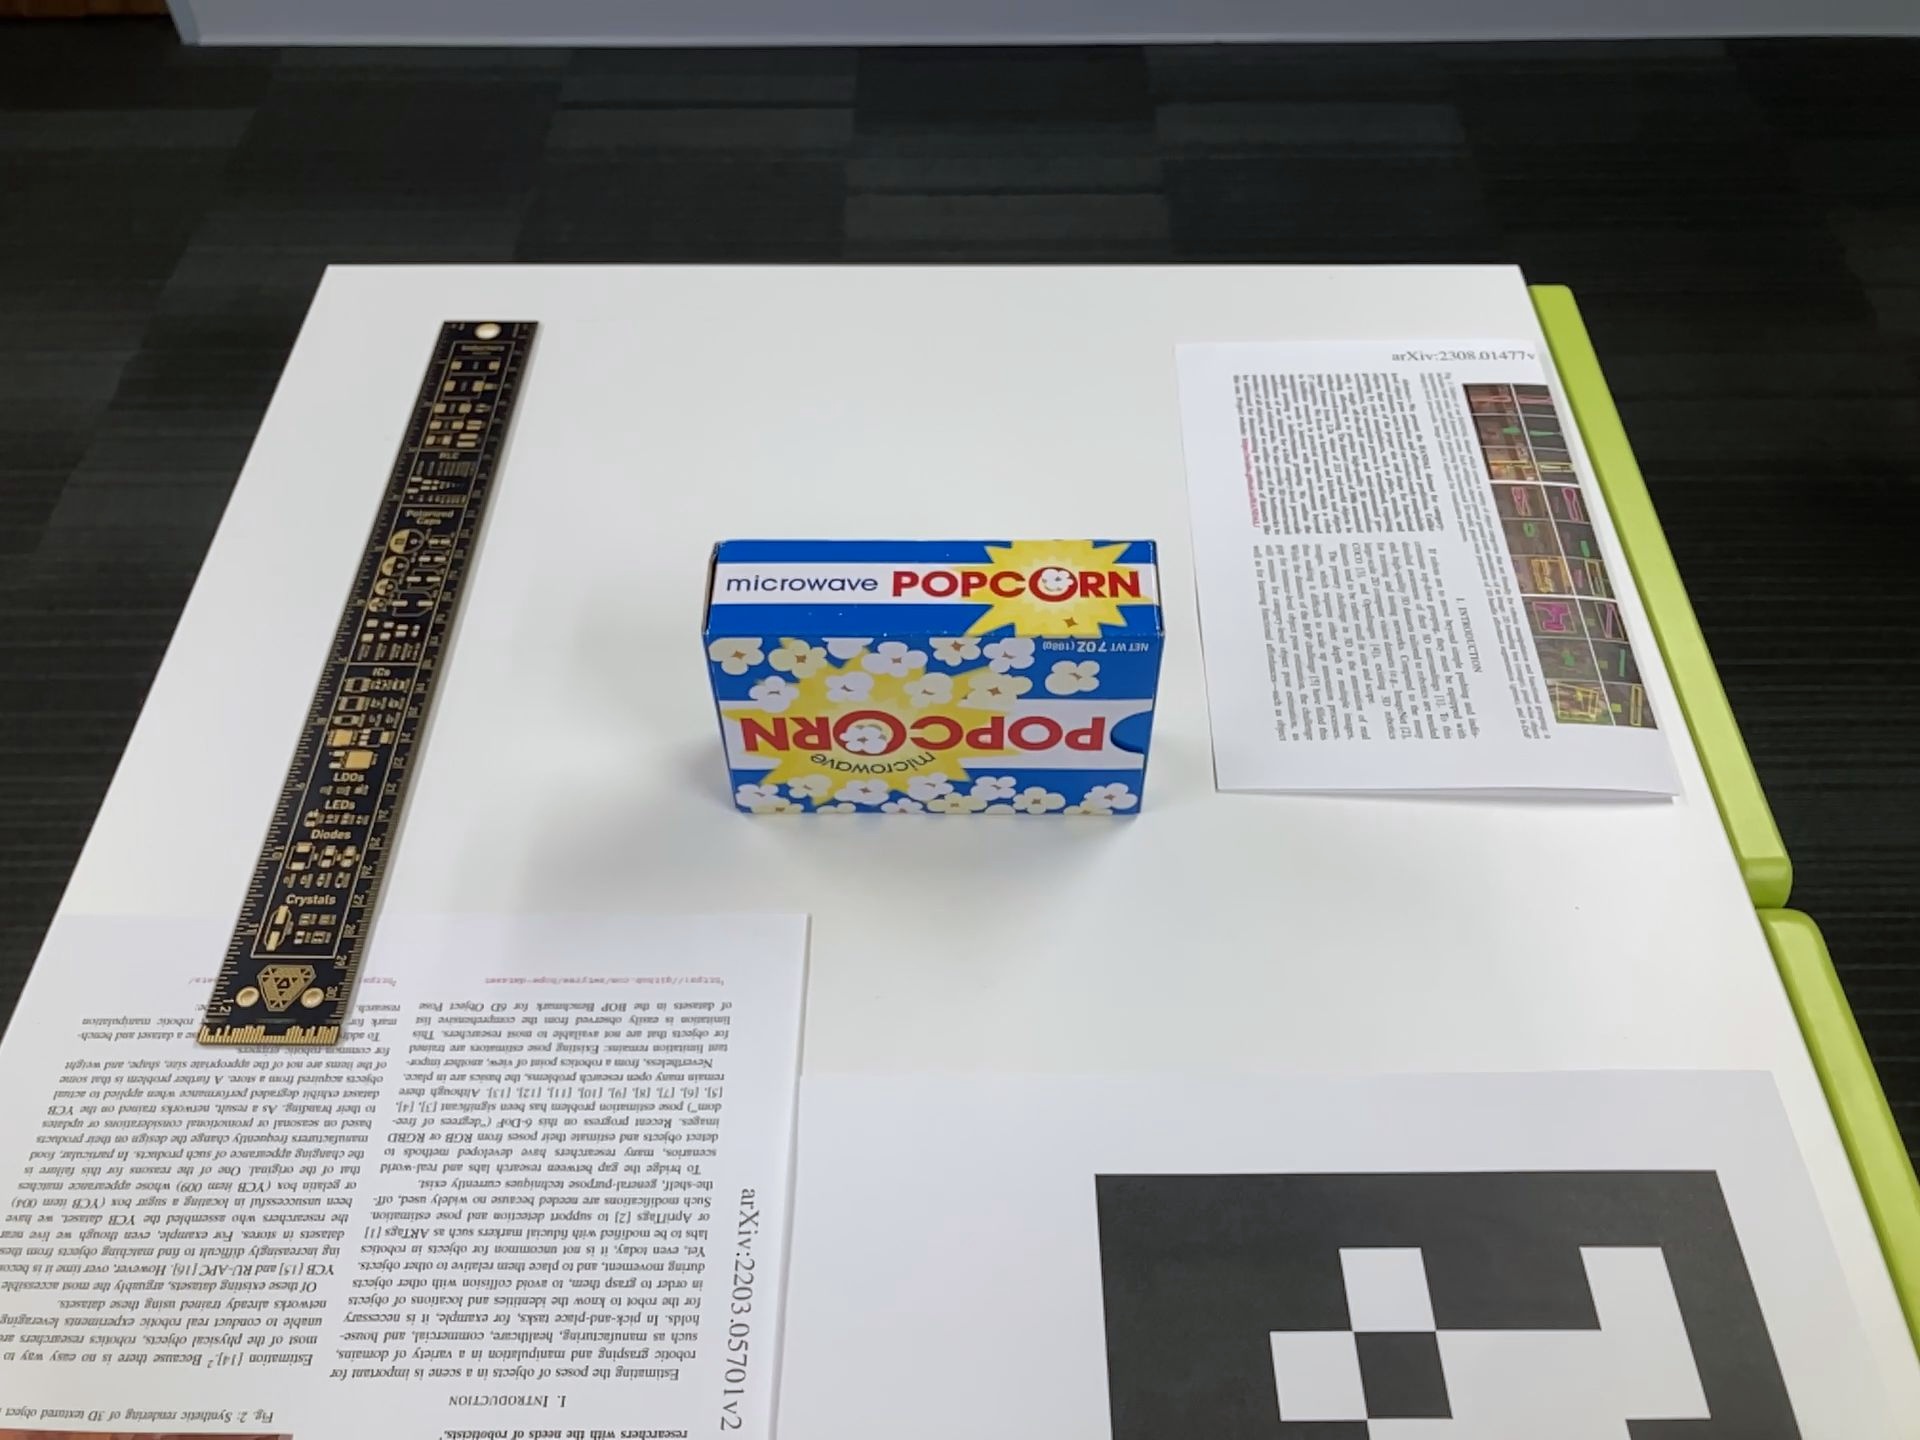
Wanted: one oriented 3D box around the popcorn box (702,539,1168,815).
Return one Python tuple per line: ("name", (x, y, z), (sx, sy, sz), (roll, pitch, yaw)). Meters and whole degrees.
("popcorn box", (-0.007, -0.011, 0.466), (0.126, 0.085, 0.038), (0, 50, 0))
